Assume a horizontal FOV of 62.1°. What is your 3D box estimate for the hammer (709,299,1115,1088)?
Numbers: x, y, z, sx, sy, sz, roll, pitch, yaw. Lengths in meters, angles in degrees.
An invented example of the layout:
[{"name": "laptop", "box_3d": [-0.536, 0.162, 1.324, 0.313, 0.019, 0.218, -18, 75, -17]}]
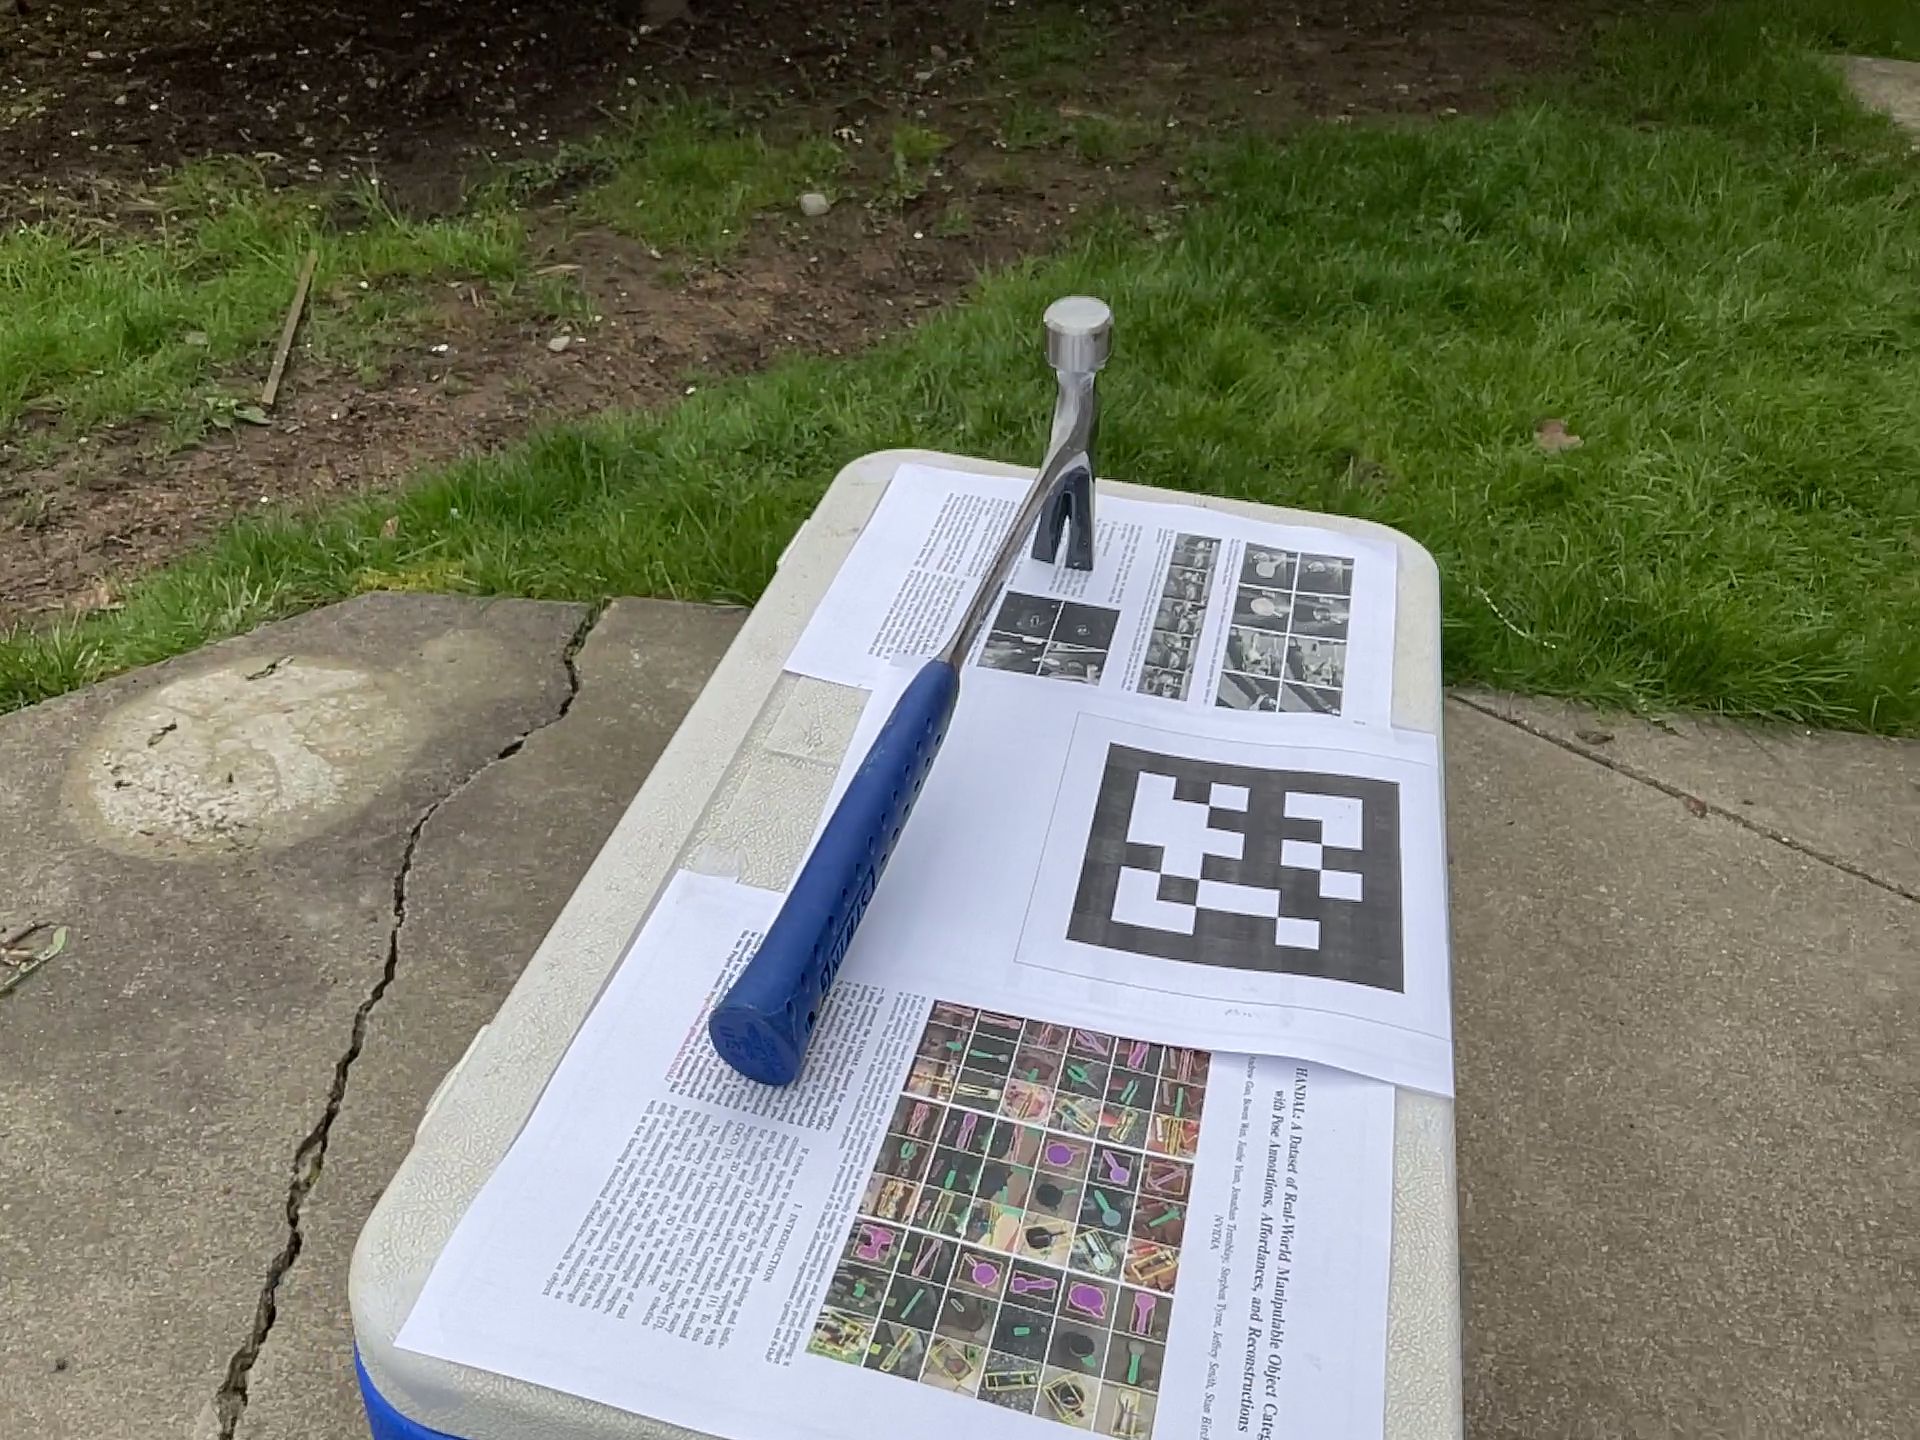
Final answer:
[{"name": "hammer", "box_3d": [-0.003, -0.018, 0.681, 0.035, 0.144, 0.405, 13, 46, 14]}]
